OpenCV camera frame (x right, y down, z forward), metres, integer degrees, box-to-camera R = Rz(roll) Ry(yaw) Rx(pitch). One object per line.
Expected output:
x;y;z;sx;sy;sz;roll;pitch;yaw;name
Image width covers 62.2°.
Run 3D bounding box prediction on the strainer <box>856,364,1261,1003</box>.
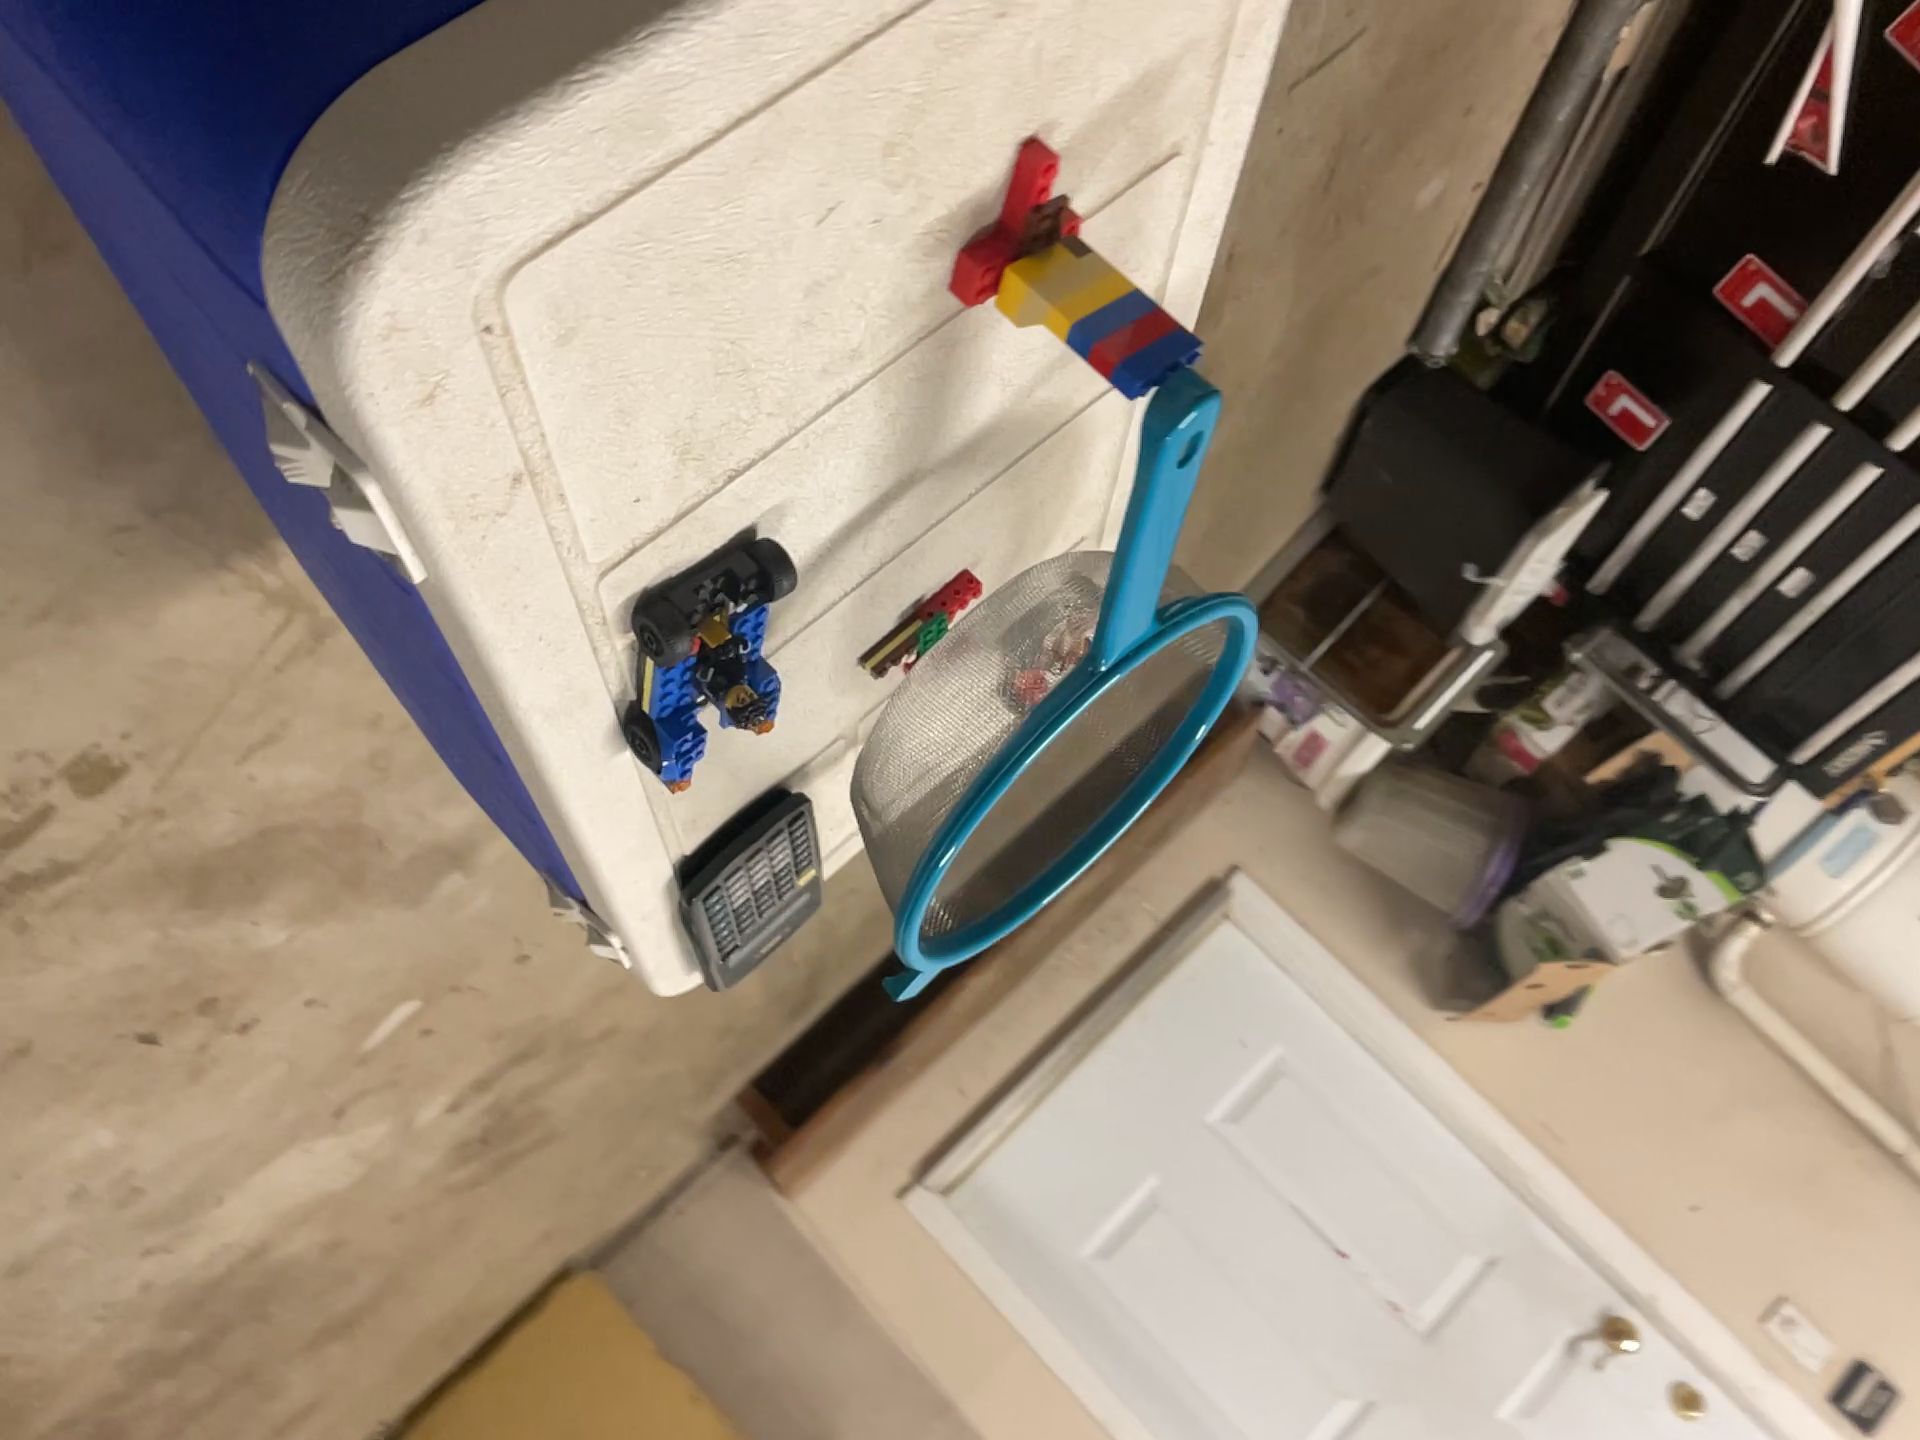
0.030;-0.032;0.635;0.211;0.095;0.340;-37;157;-25;strainer
